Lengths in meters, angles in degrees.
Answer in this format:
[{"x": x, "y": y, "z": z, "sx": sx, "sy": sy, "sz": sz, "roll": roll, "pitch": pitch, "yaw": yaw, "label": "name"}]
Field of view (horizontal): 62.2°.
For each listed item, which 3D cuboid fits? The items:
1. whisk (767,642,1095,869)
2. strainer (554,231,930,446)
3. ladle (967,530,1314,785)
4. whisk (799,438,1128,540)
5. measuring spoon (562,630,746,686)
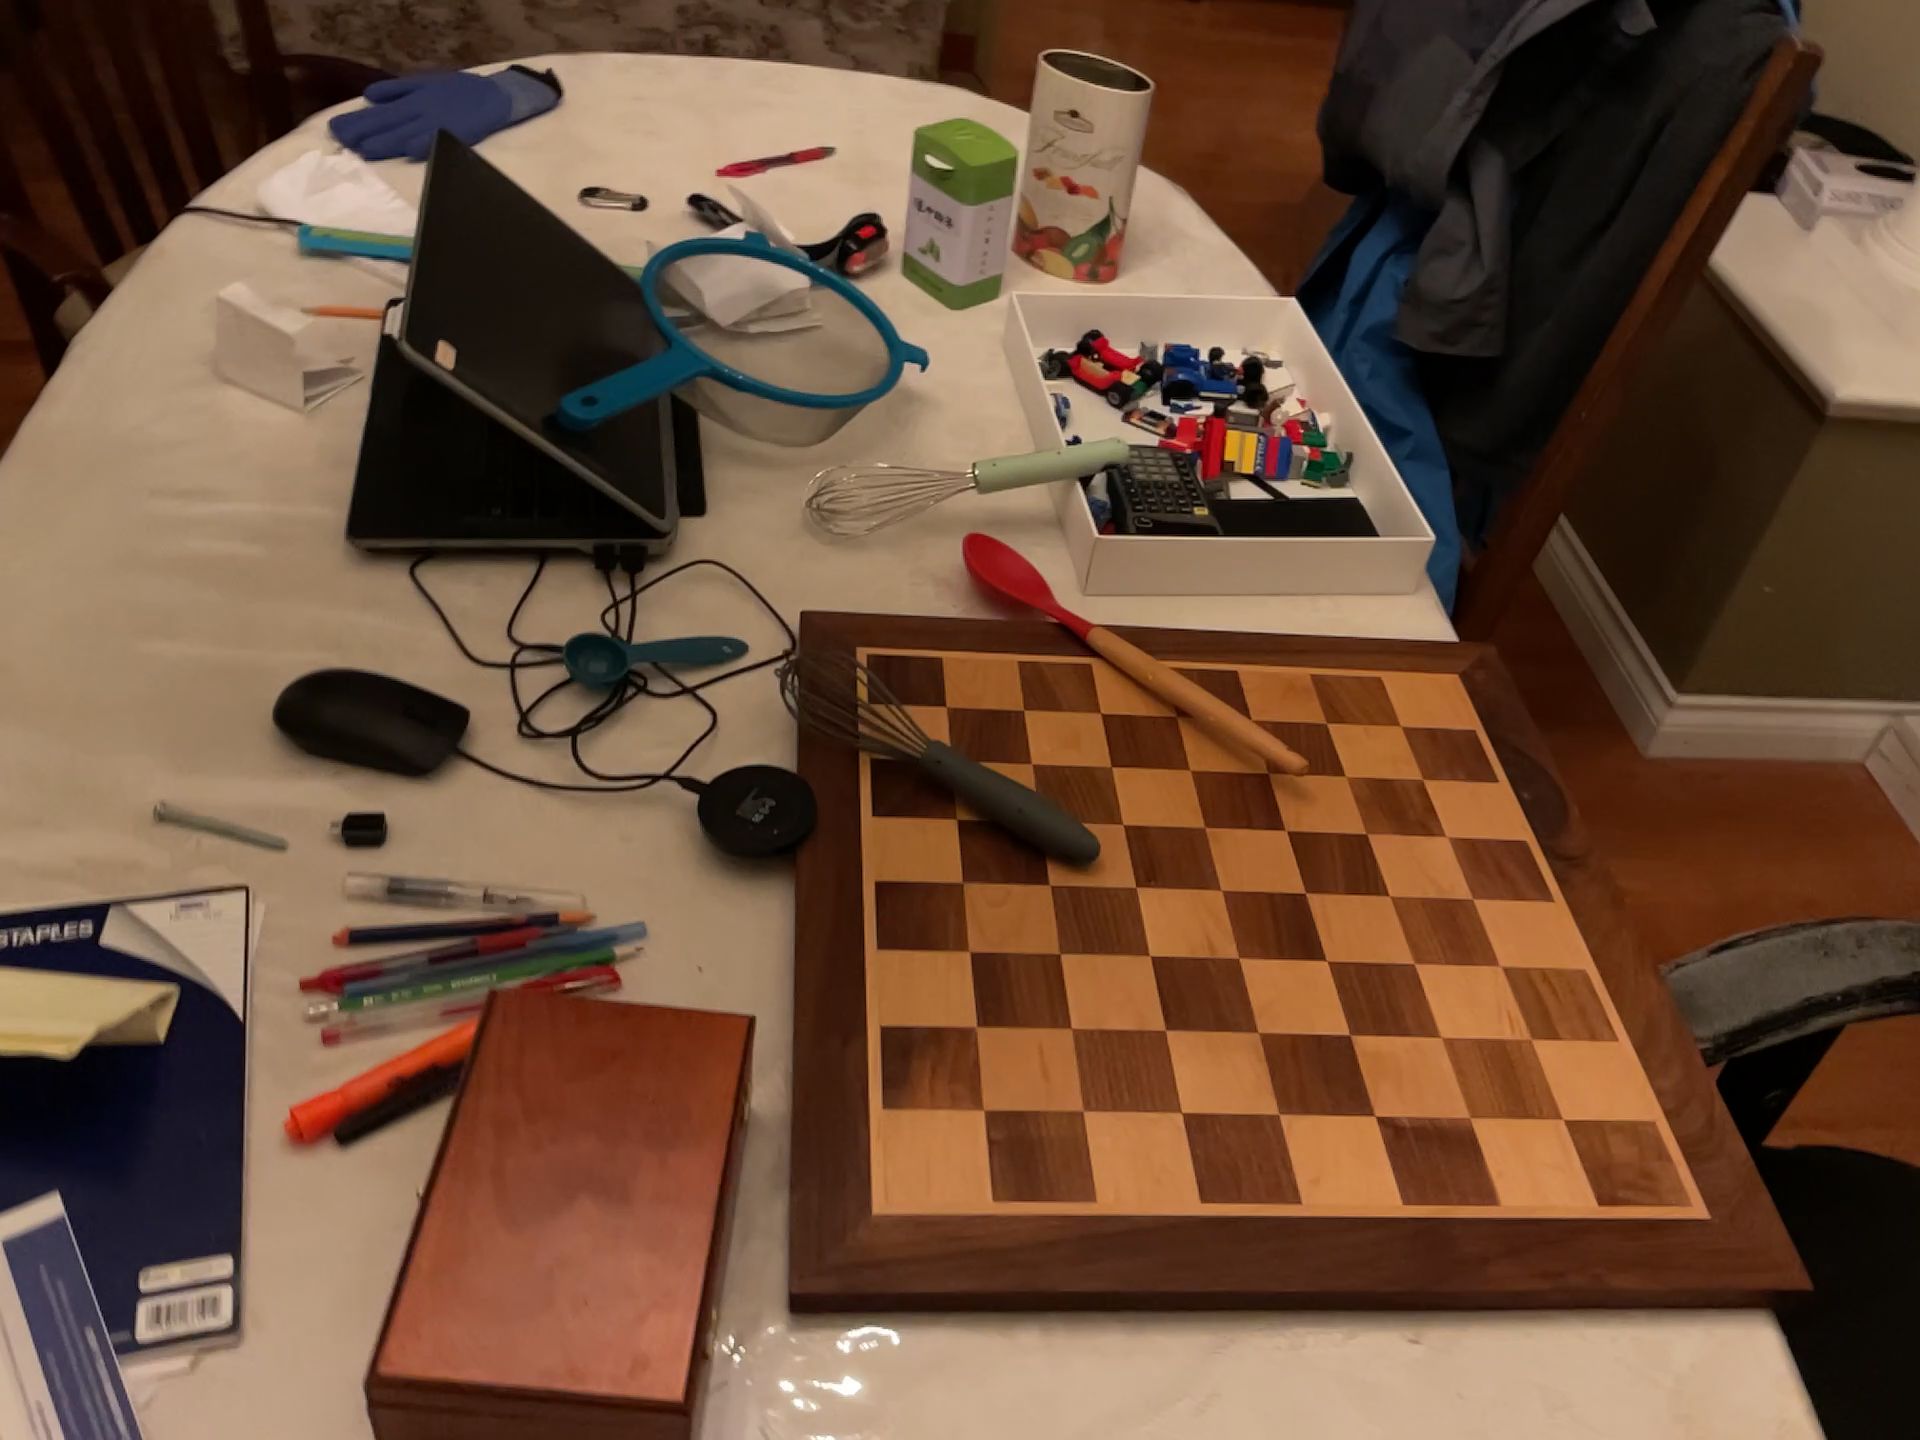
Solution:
[{"x": -0.020, "y": 0.023, "z": 0.959, "sx": 0.239, "sy": 0.055, "sz": 0.055, "roll": 32, "pitch": 60, "yaw": 18, "label": "whisk"}, {"x": -0.189, "y": -0.252, "z": 1.208, "sx": 0.211, "sy": 0.095, "sz": 0.340, "roll": 37, "pitch": 43, "yaw": 11, "label": "strainer"}, {"x": 0.112, "y": -0.044, "z": 1.064, "sx": 0.069, "sy": 0.031, "sz": 0.316, "roll": -4, "pitch": 34, "yaw": -47, "label": "ladle"}, {"x": 0.002, "y": -0.177, "z": 1.171, "sx": 0.246, "sy": 0.057, "sz": 0.059, "roll": -10, "pitch": 74, "yaw": -1, "label": "whisk"}, {"x": -0.199, "y": -0.041, "z": 1.040, "sx": 0.128, "sy": 0.021, "sz": 0.042, "roll": -8, "pitch": 51, "yaw": -35, "label": "measuring spoon"}]
